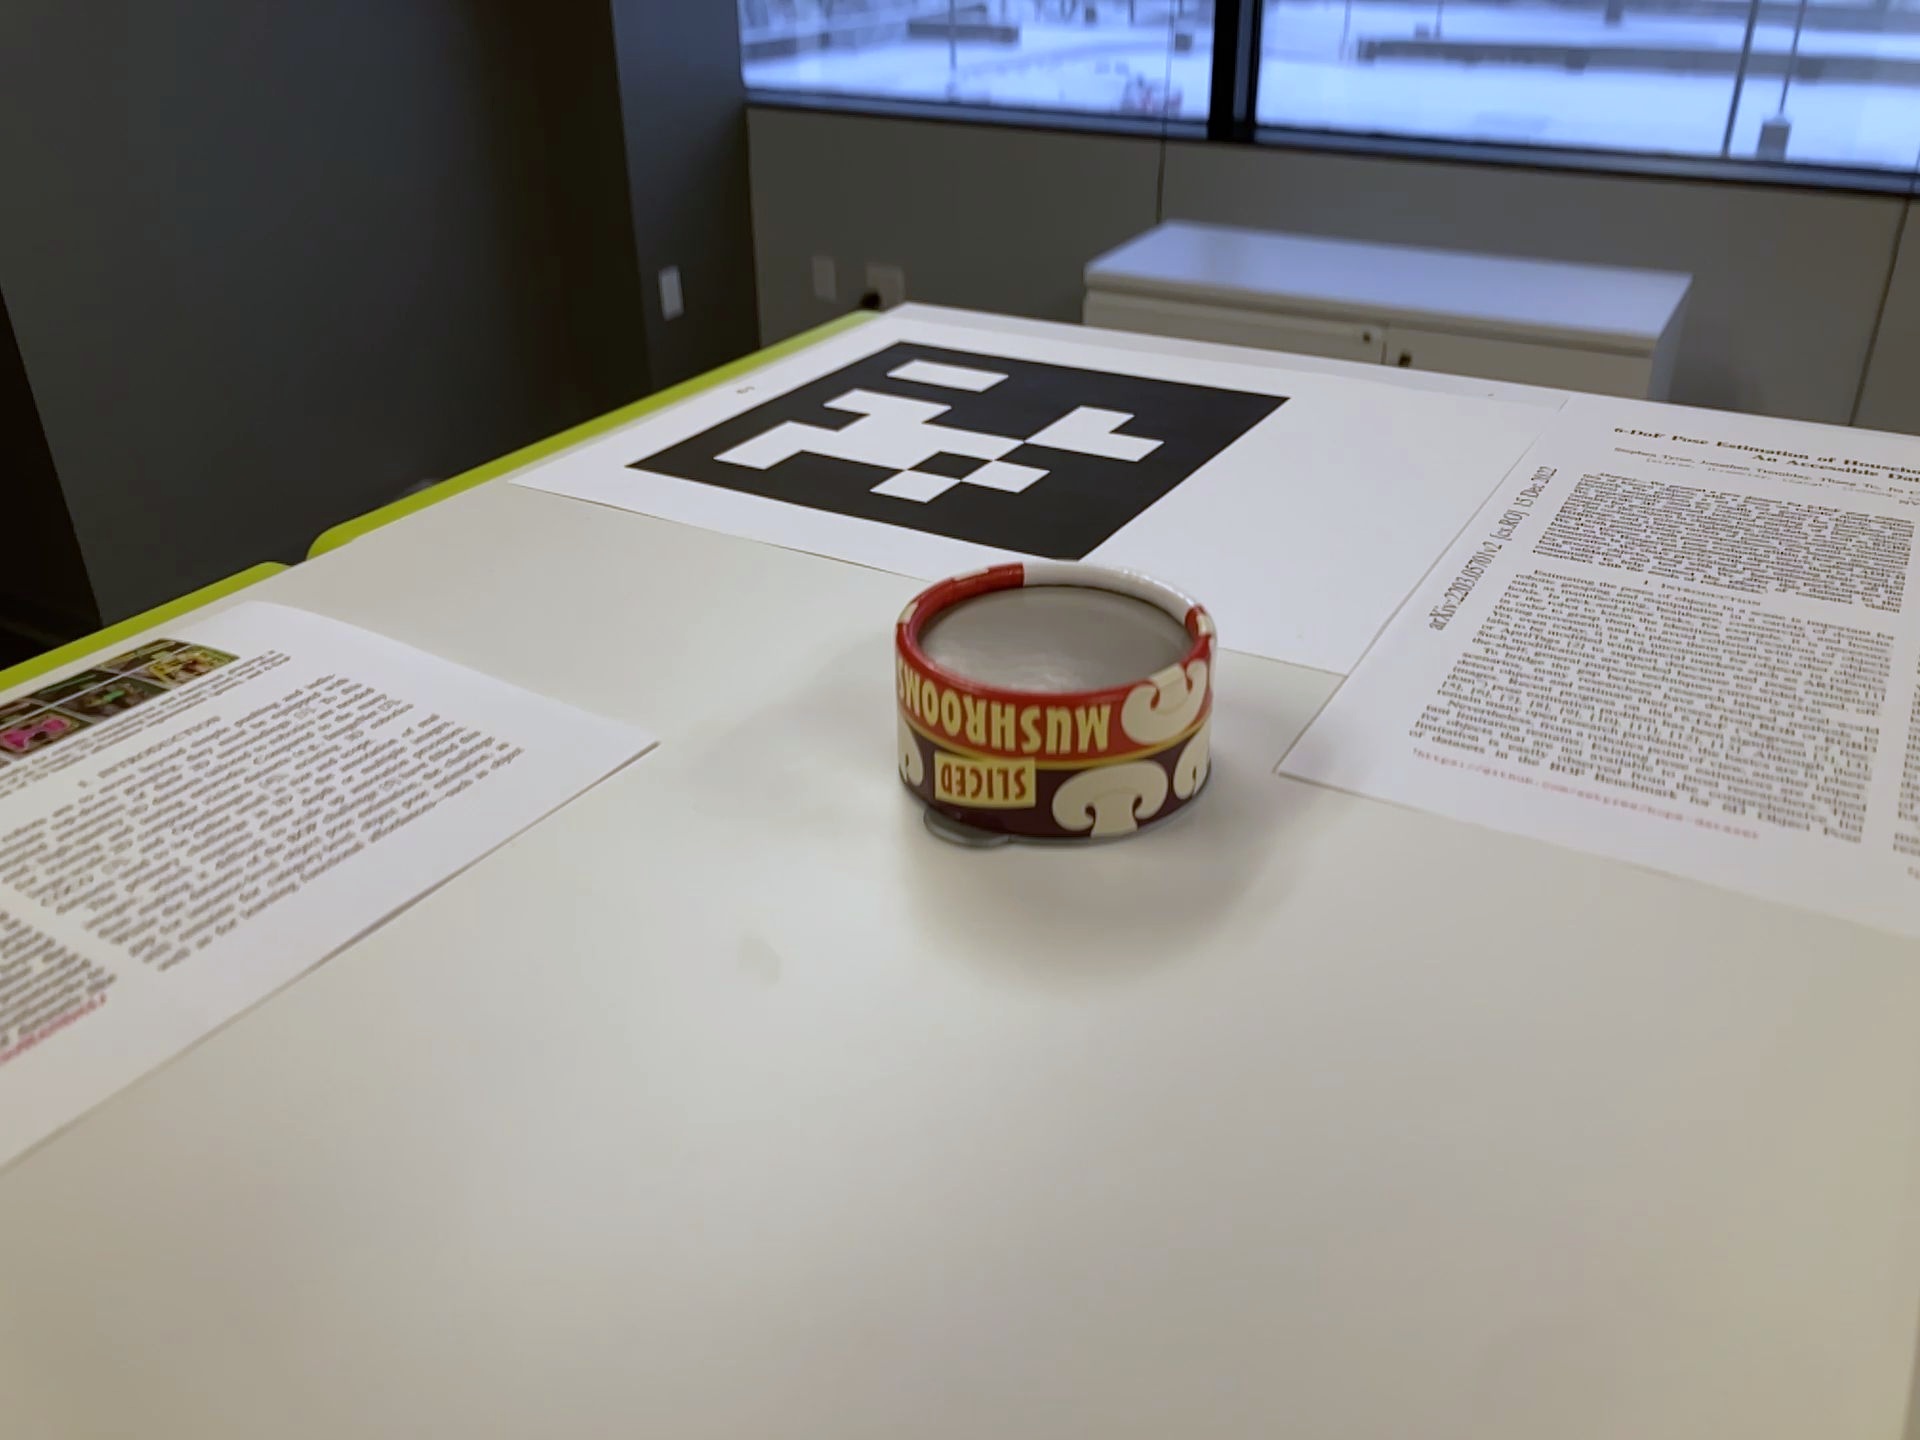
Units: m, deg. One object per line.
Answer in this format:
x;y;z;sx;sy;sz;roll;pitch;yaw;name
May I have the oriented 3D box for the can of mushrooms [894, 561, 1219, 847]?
0.018;-0.005;0.325;0.071;0.033;0.071;-1;30;1;can of mushrooms
